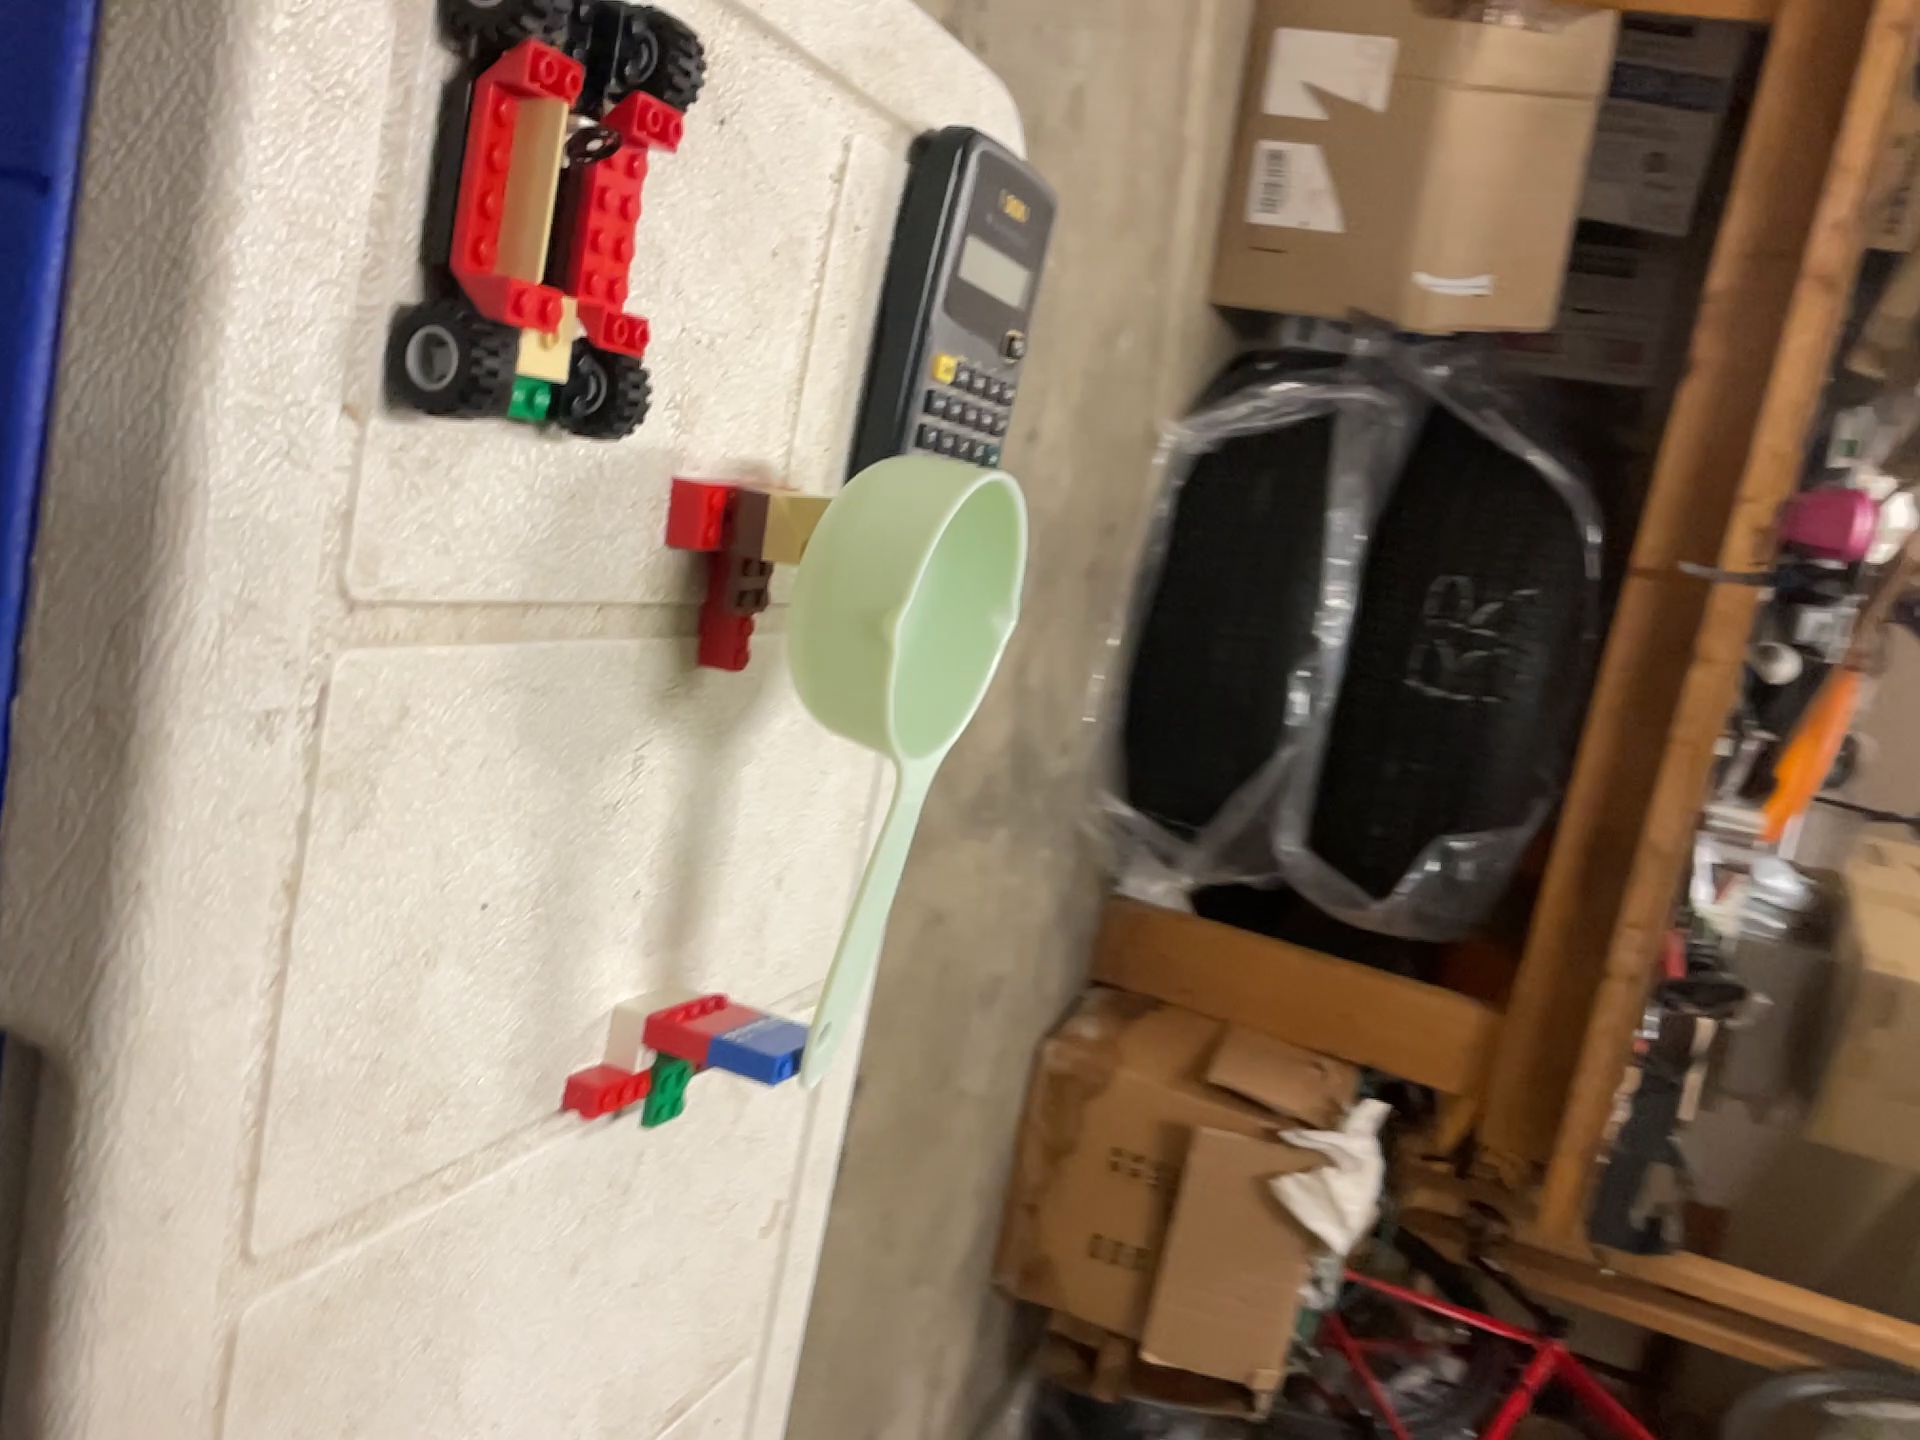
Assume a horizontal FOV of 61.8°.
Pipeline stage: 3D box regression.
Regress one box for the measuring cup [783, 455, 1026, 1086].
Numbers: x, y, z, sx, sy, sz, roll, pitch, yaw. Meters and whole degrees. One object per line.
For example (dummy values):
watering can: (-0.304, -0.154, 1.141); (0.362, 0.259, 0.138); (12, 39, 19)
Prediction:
measuring cup: (-0.027, 0.013, 0.412); (0.083, 0.038, 0.167); (-16, 124, -69)
